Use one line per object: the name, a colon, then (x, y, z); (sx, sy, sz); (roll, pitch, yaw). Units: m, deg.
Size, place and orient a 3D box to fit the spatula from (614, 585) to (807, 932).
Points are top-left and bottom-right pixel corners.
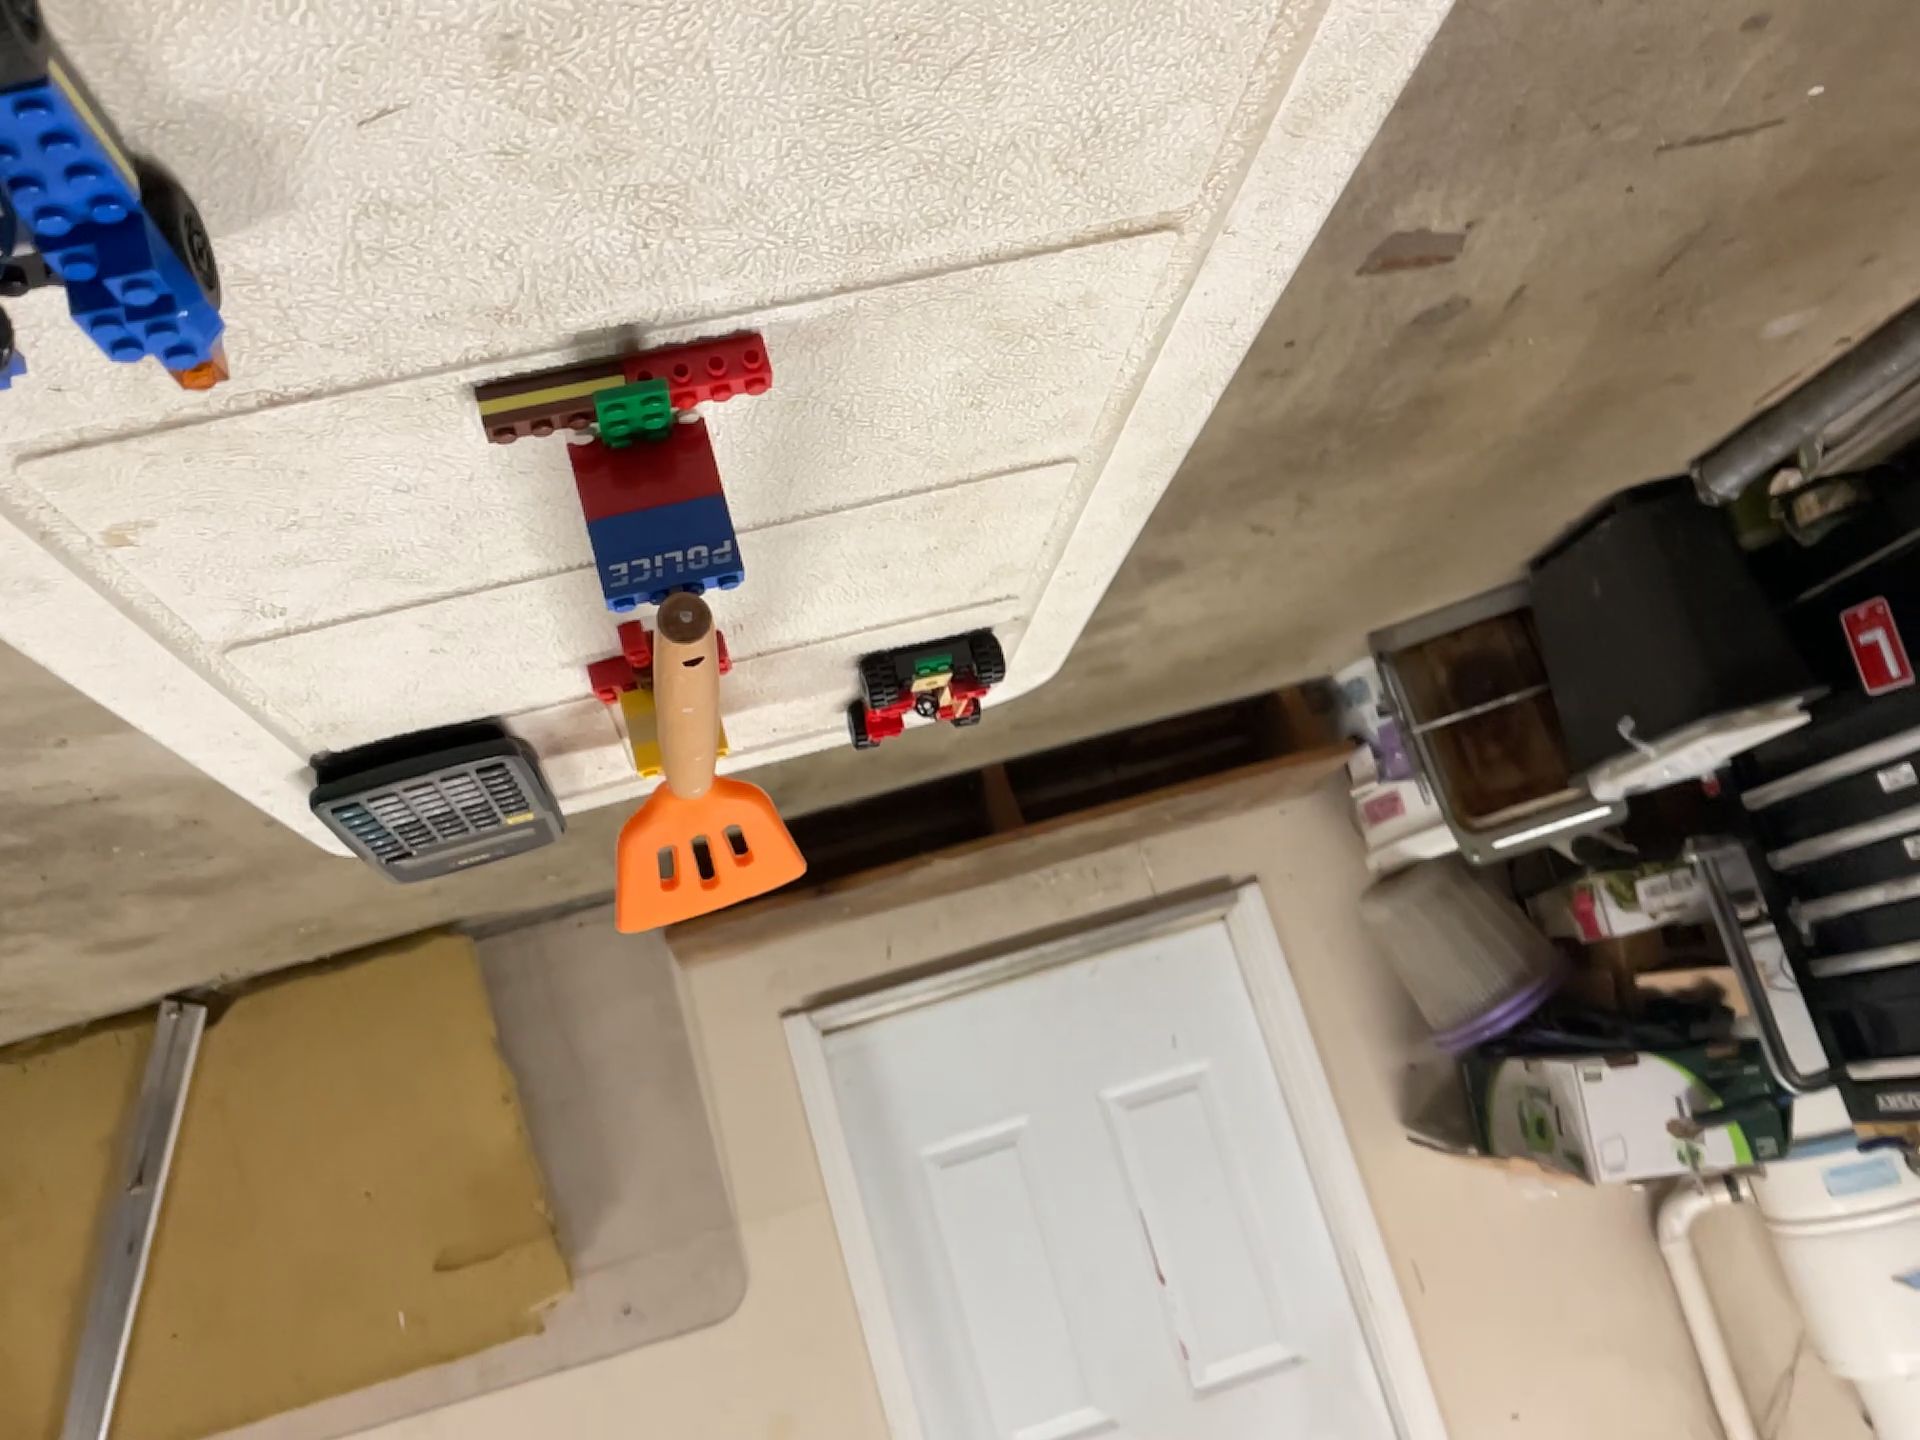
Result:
spatula: (-0.083, 0.021, 0.509); (0.081, 0.041, 0.322); (-17, 170, -13)
